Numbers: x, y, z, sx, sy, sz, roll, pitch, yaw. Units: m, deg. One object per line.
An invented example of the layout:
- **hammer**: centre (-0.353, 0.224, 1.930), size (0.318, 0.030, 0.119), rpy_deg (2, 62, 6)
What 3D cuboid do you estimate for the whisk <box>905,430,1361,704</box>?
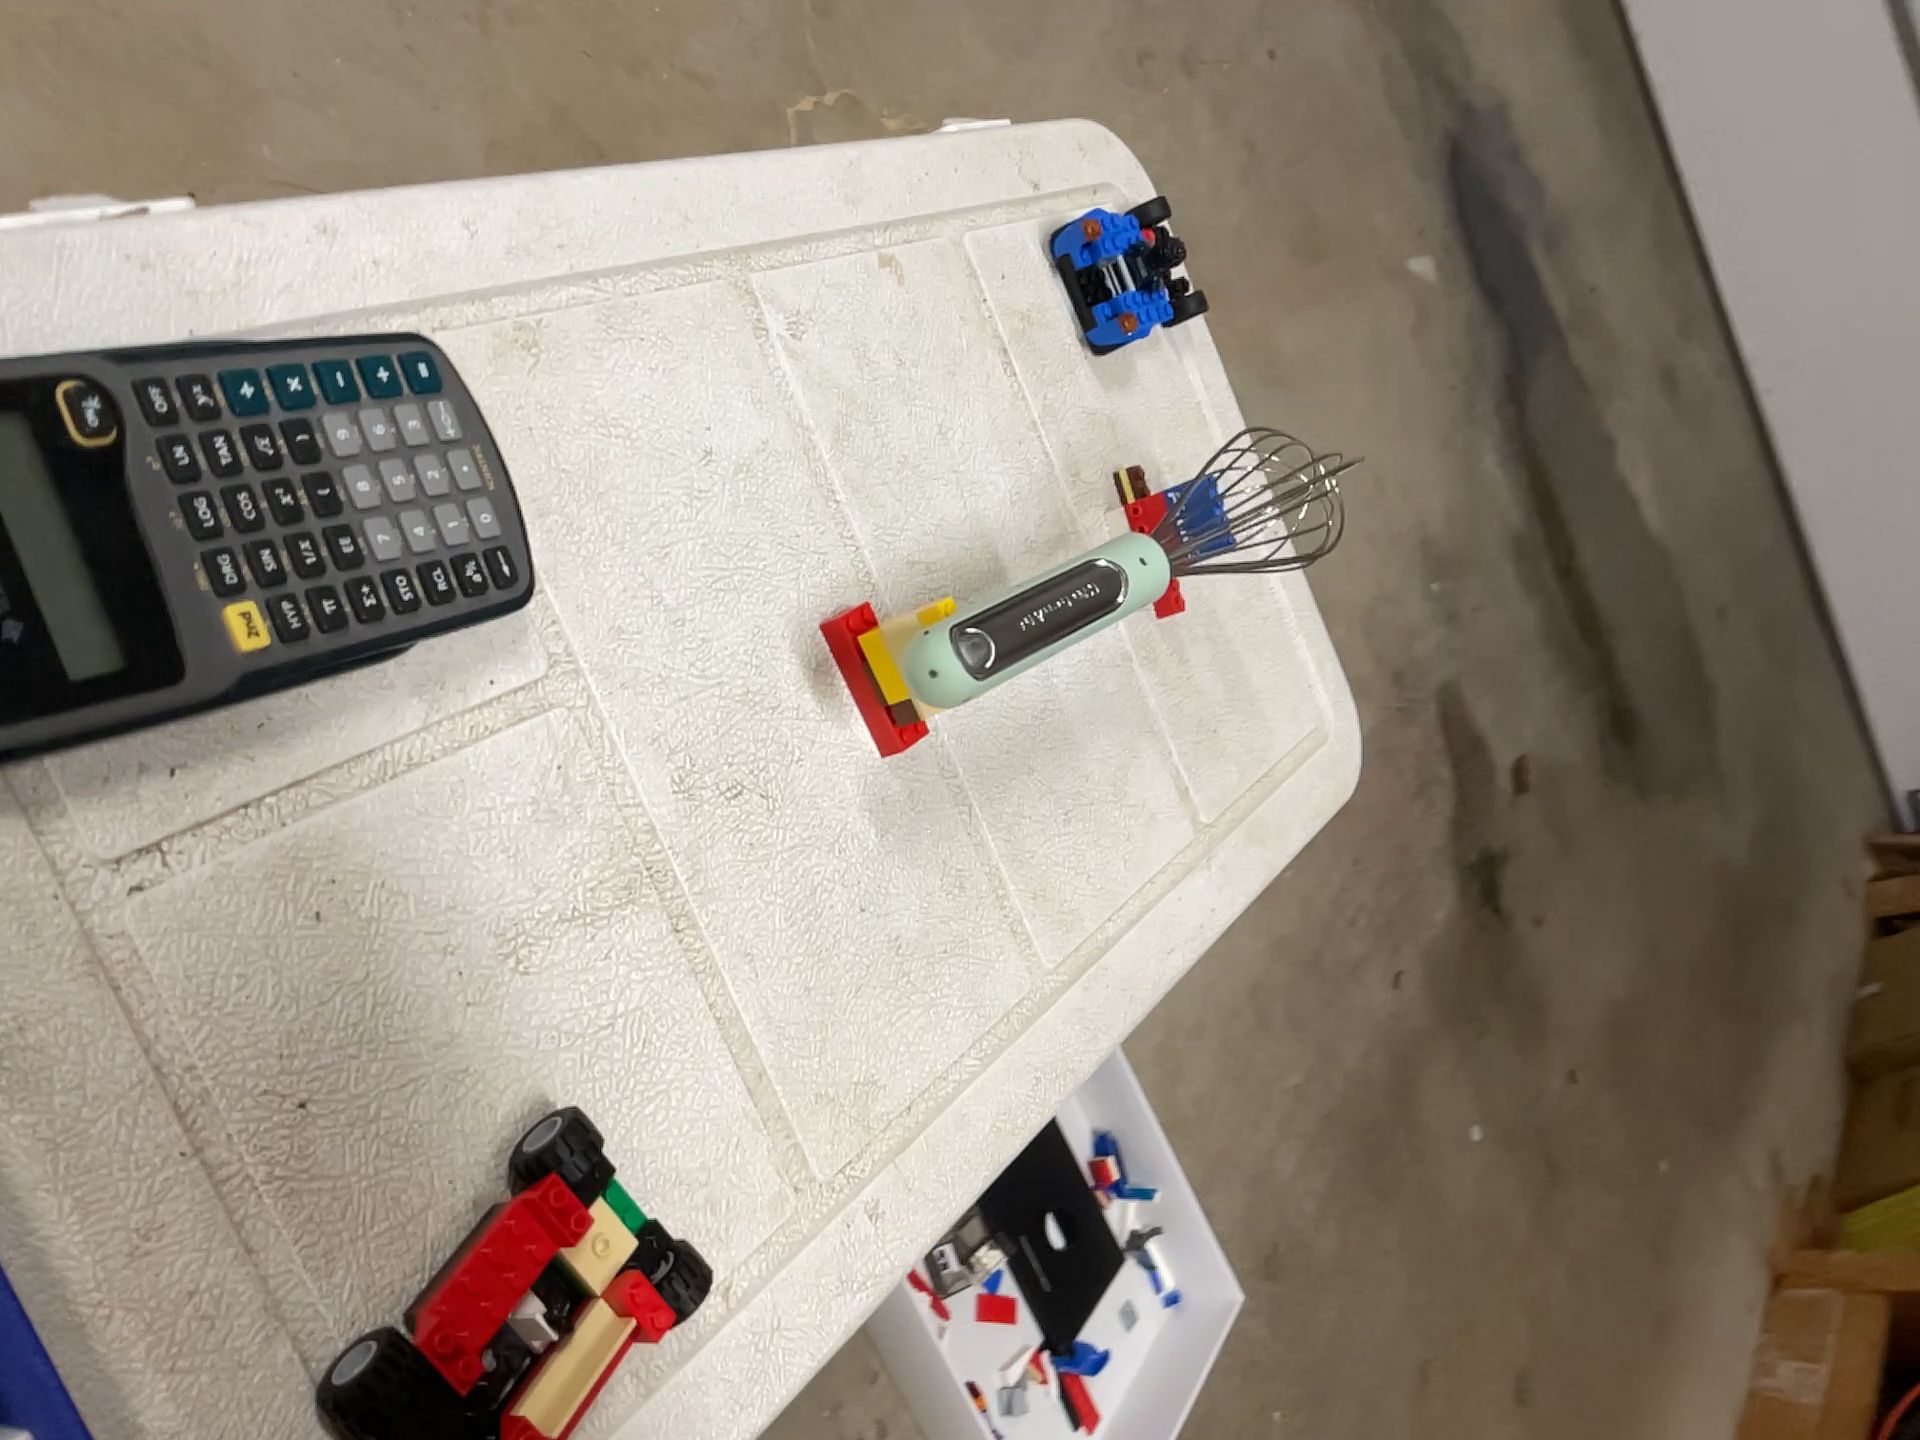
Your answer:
- **whisk**: centre (0.067, -0.055, 0.551), size (0.246, 0.059, 0.058), rpy_deg (-28, 91, -44)
